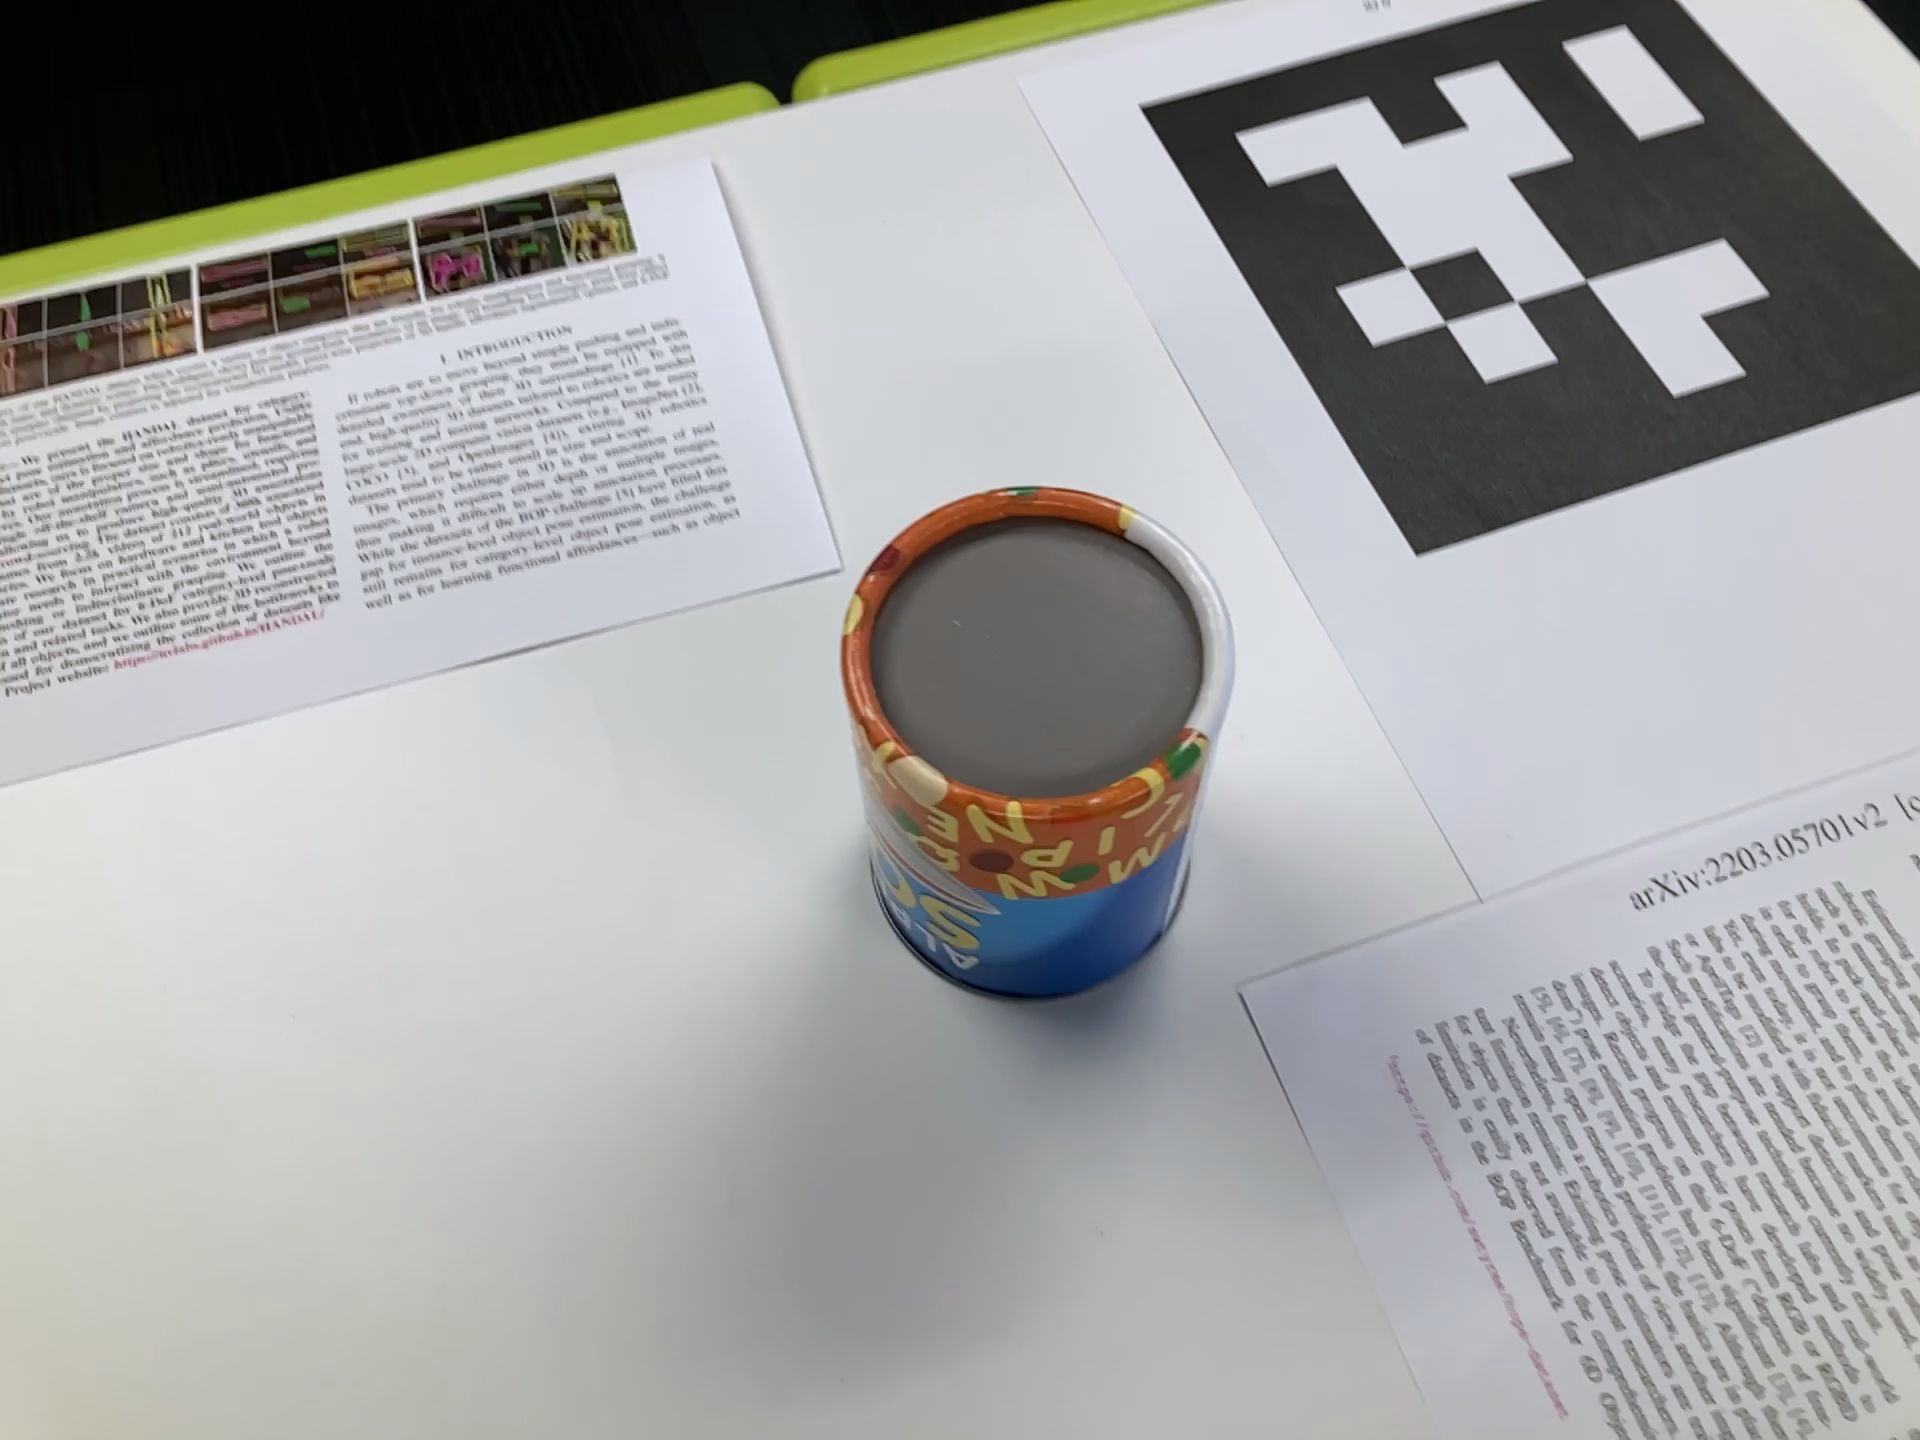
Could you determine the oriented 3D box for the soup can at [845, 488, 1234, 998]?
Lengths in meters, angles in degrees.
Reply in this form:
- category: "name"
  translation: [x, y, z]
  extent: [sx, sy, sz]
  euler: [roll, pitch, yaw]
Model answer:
- category: "soup can"
  translation: [0.011, 0.008, 0.299]
  extent: [0.071, 0.084, 0.071]
  euler: [-1, 60, 1]
